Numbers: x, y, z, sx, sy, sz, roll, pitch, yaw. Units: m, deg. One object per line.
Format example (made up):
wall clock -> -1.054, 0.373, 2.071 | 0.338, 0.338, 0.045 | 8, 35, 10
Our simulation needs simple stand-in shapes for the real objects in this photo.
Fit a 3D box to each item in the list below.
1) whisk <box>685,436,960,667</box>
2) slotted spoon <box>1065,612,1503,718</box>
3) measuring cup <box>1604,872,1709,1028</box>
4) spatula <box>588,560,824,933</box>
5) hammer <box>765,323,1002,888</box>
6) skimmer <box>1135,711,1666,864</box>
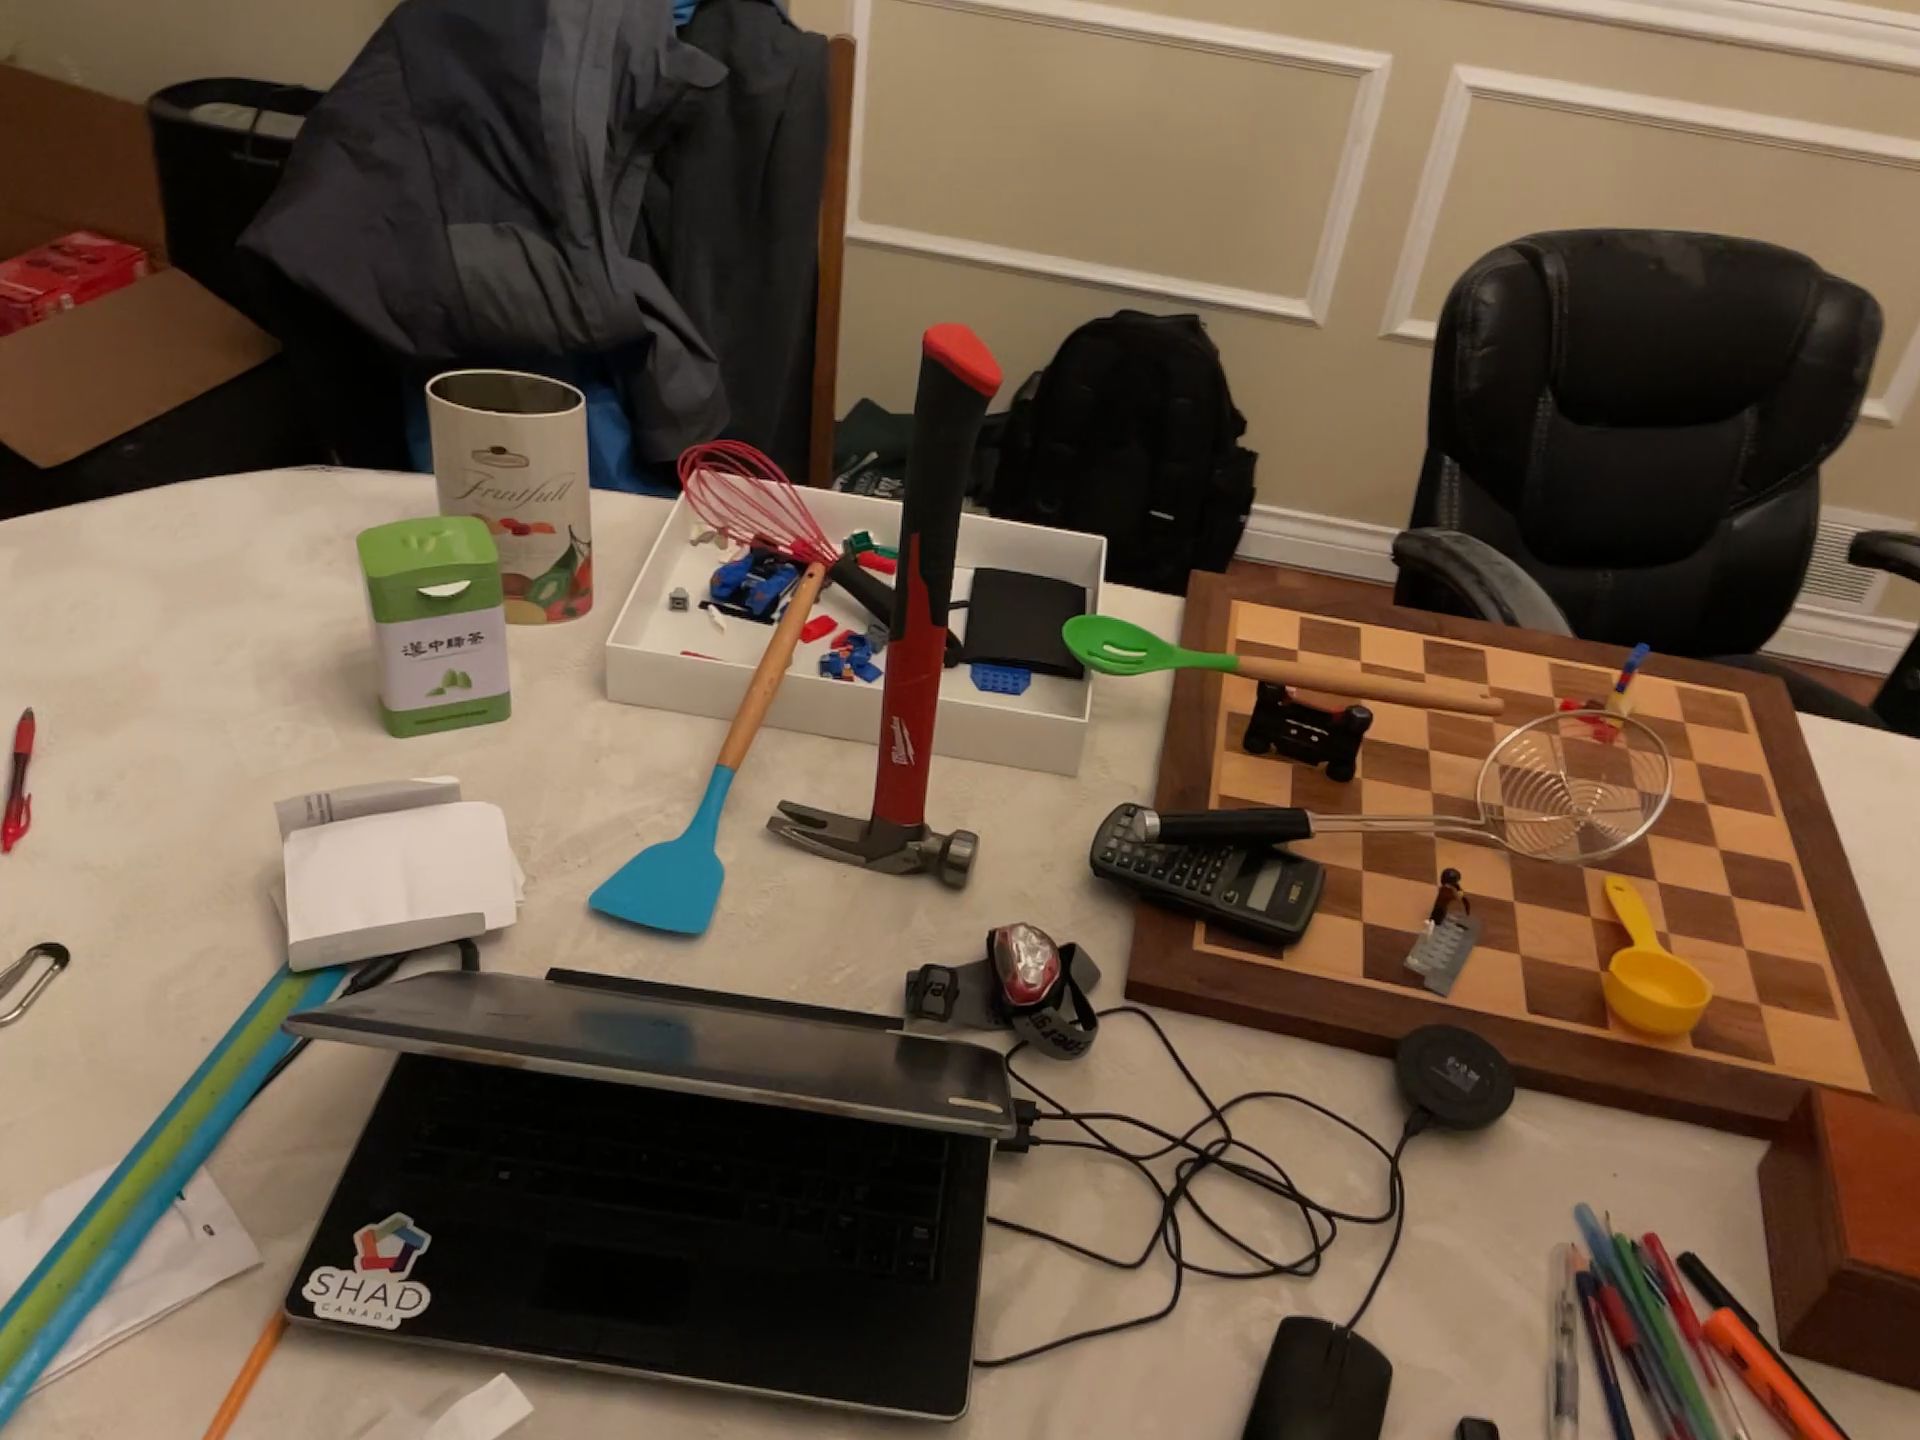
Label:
whisk -> -0.115, -0.136, 1.288 | 0.296, 0.073, 0.073 | 39, 65, 15
slotted spoon -> 0.227, -0.034, 1.146 | 0.314, 0.031, 0.070 | 11, 35, 19
measuring cup -> 0.441, 0.148, 1.040 | 0.062, 0.029, 0.156 | 9, 26, 6
spatula -> -0.152, 0.008, 1.092 | 0.082, 0.044, 0.317 | 14, 59, 10
hammer -> -0.041, -0.057, 0.961 | 0.143, 0.386, 0.038 | 13, 39, 7
skimmer -> 0.298, 0.047, 1.075 | 0.363, 0.090, 0.127 | 0, 40, -16
